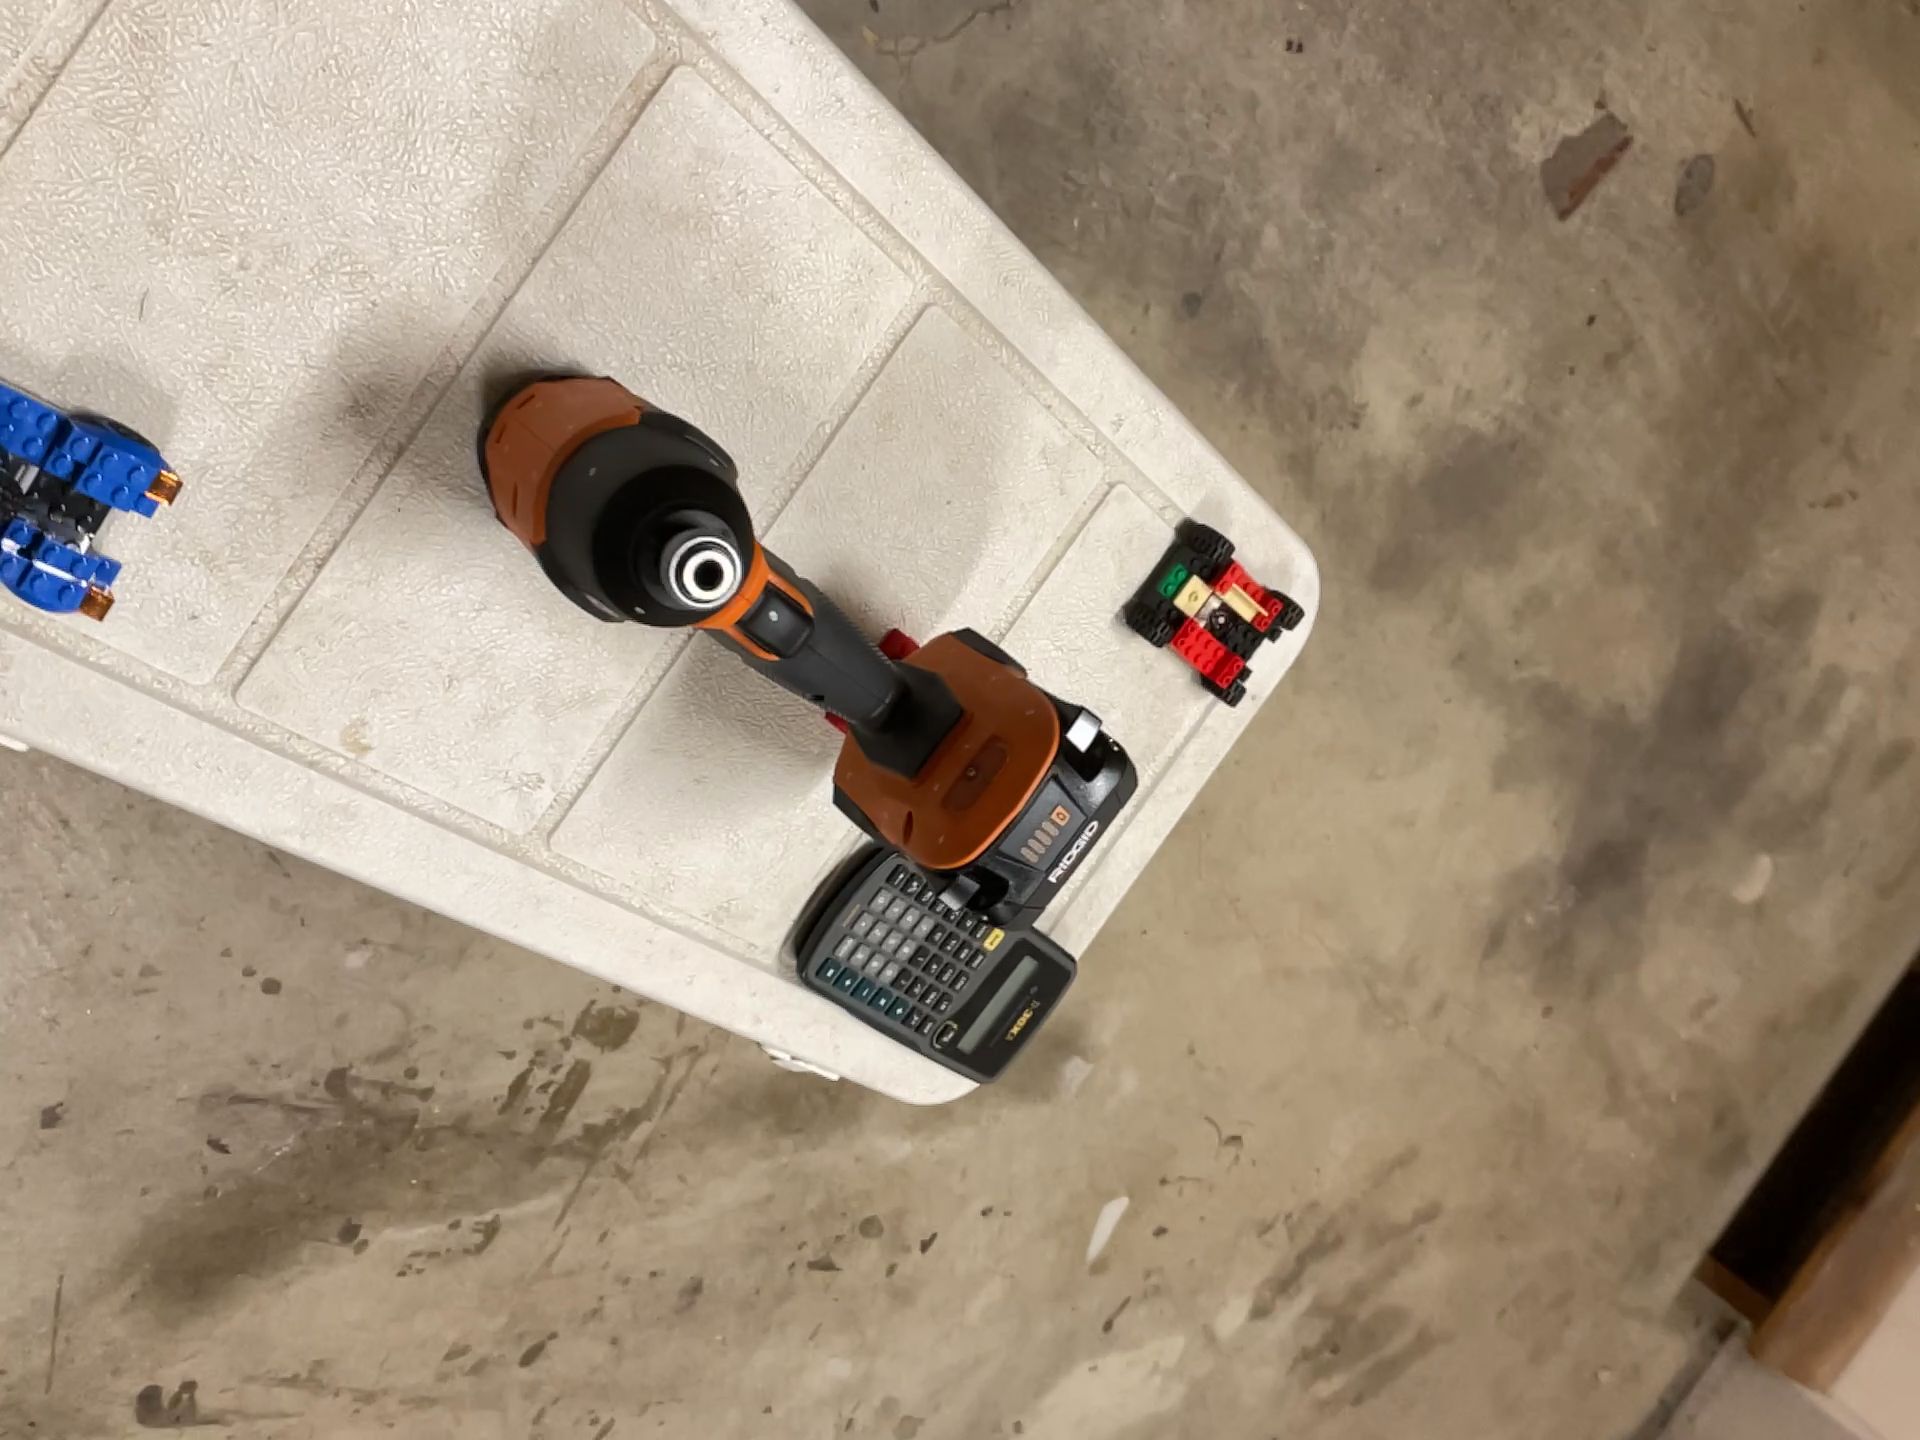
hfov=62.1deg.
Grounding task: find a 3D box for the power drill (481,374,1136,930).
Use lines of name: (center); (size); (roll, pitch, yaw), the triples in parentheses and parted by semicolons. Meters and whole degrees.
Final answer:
power drill: (-0.047, -0.021, 0.530); (0.226, 0.164, 0.084); (38, 90, -31)
